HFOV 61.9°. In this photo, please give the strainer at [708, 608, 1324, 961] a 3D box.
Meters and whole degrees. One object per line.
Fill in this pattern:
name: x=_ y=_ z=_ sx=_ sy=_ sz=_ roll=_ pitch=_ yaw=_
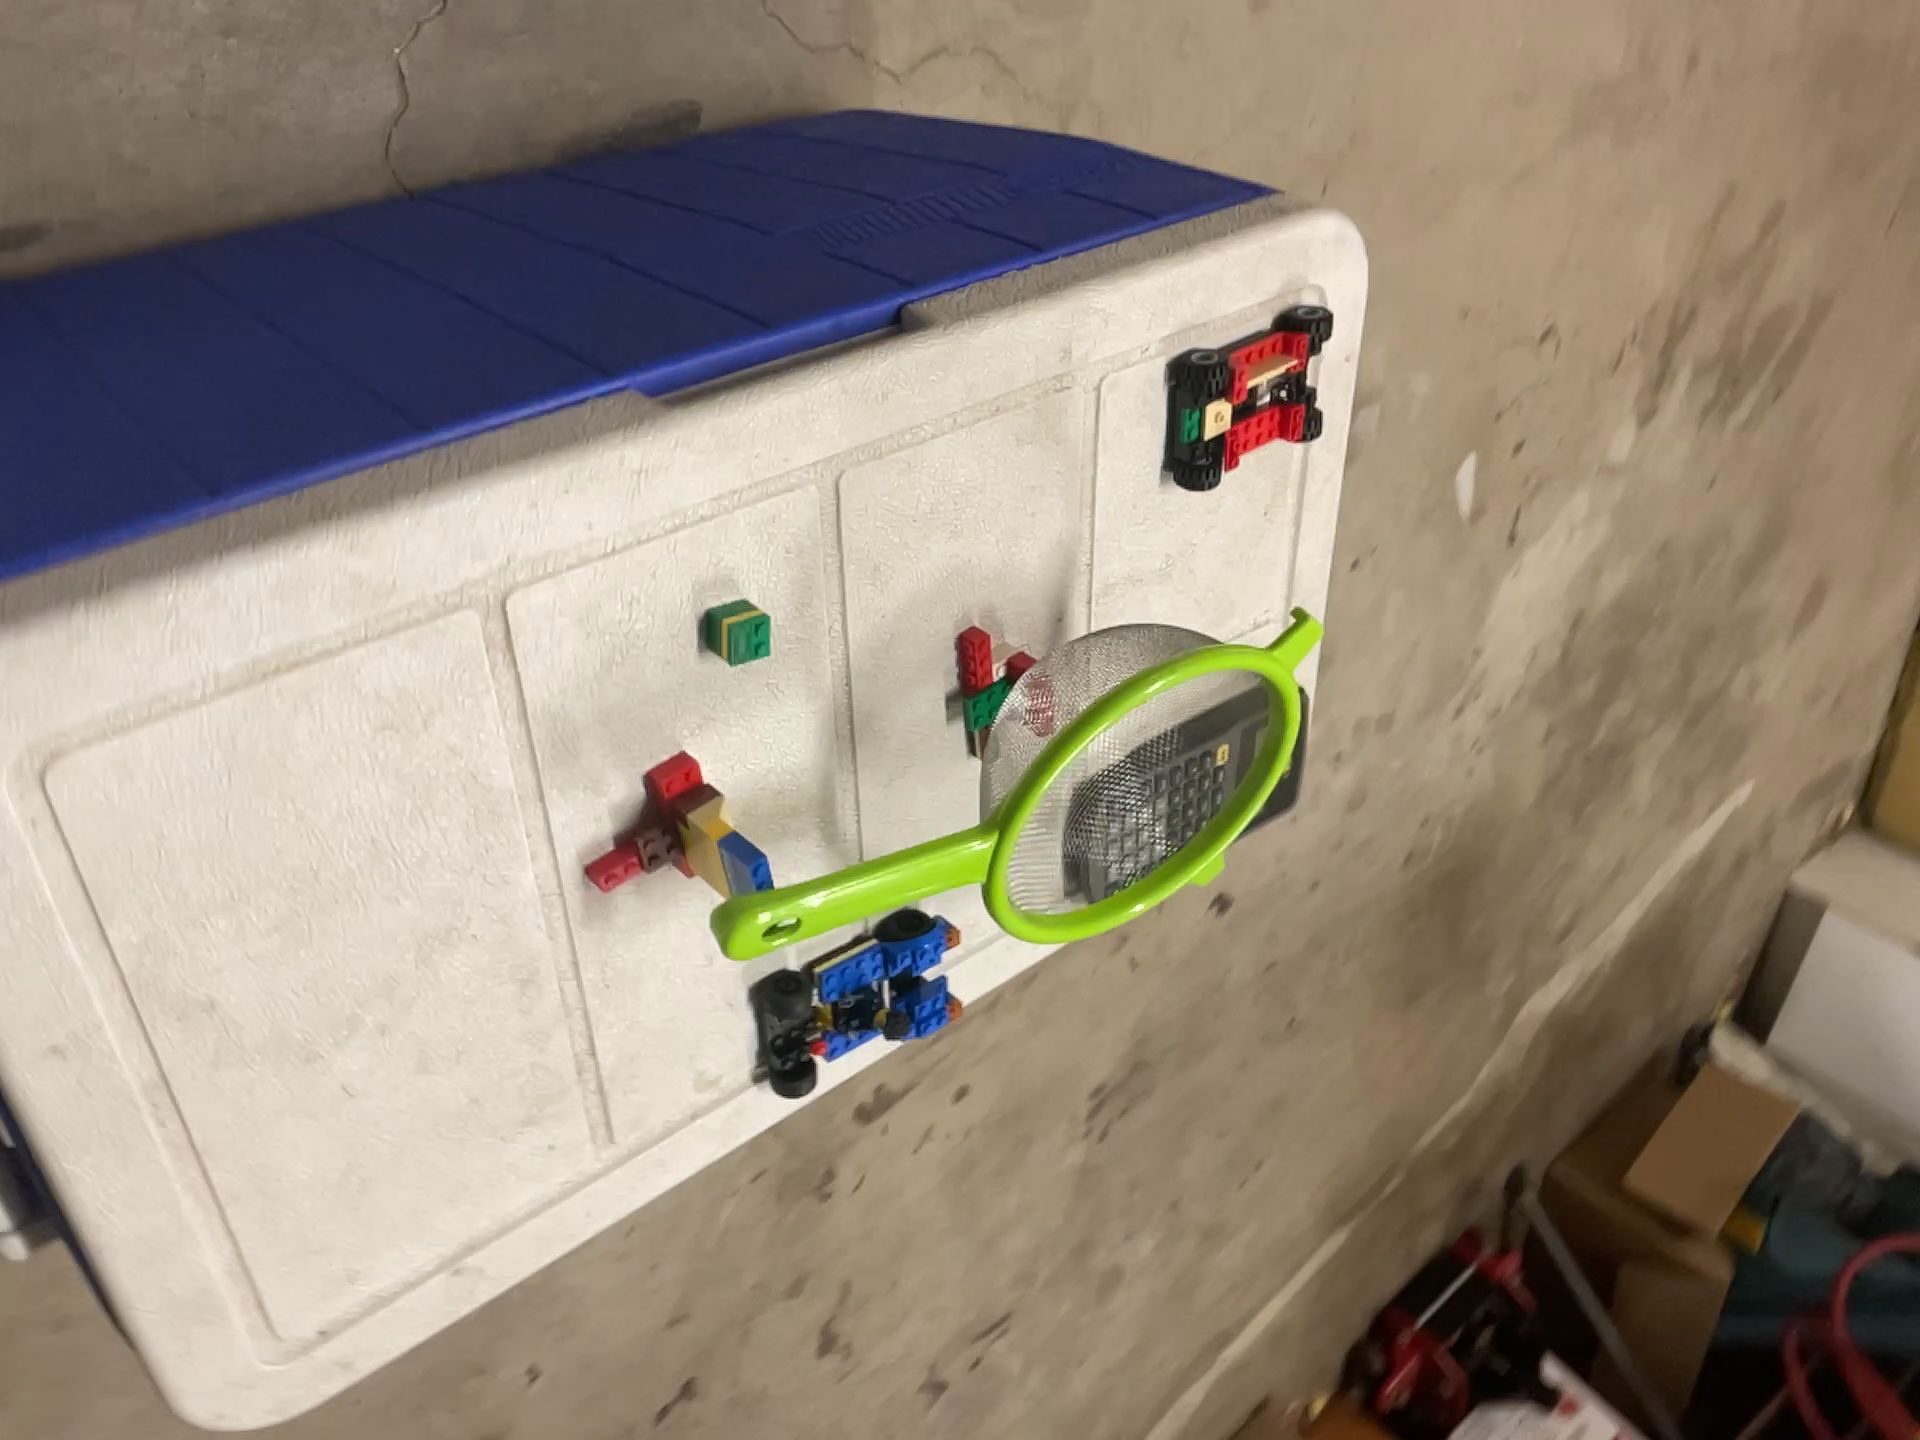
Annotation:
strainer: x=0.013 y=0.028 z=0.615 sx=0.256 sy=0.069 sz=0.151 roll=-16 pitch=139 yaw=-29
